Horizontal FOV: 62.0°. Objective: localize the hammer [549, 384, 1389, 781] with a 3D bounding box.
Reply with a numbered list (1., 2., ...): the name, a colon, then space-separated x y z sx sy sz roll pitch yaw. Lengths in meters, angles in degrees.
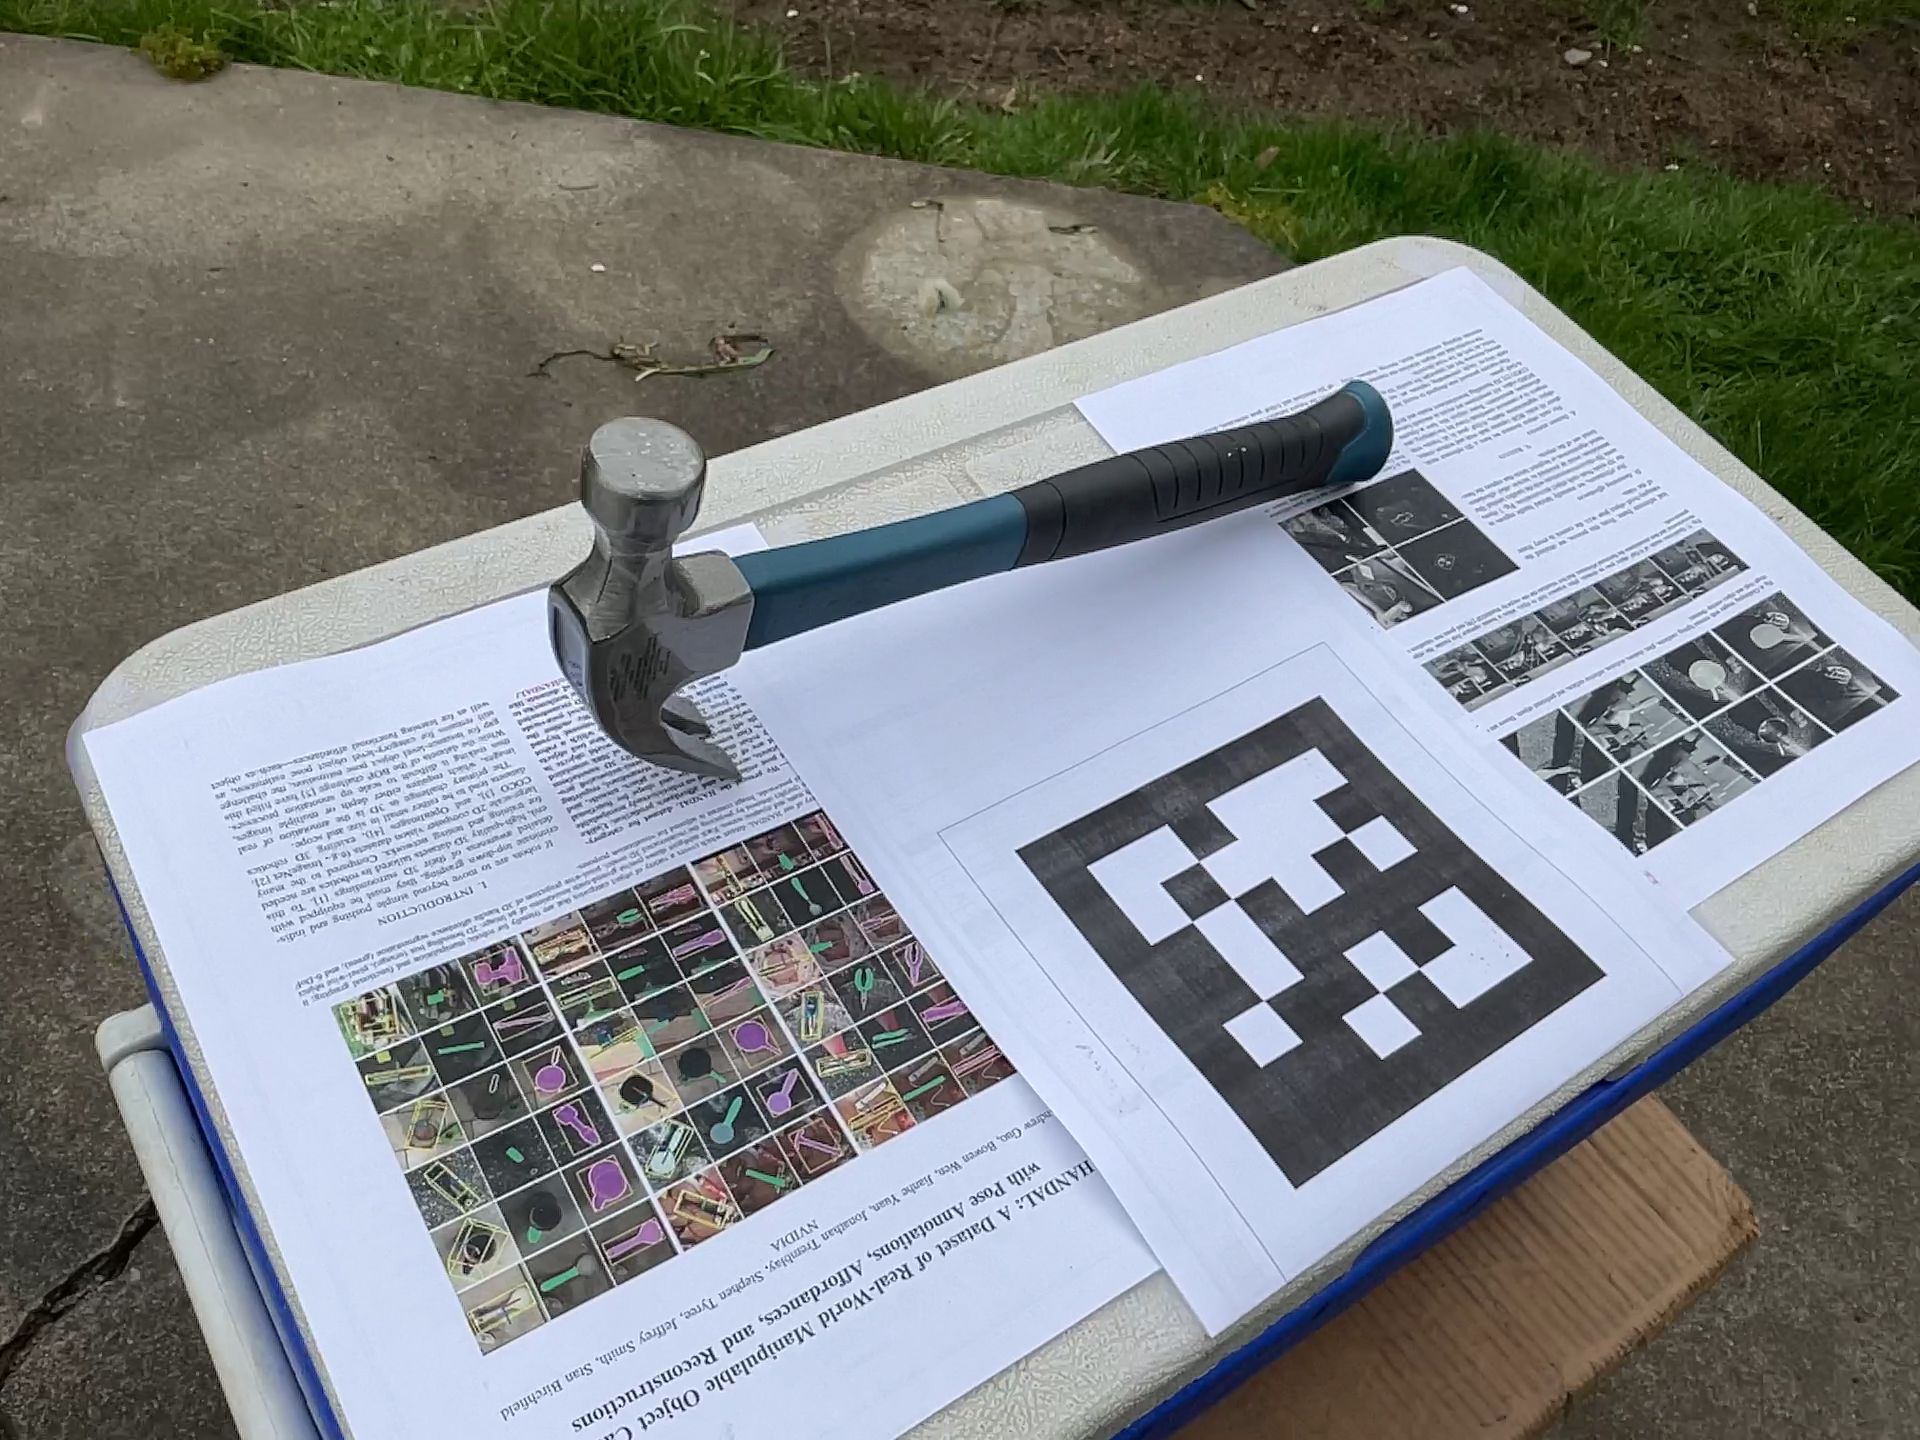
1. hammer: 0.025 -0.063 0.512 0.331 0.128 0.033 -19 59 -34
